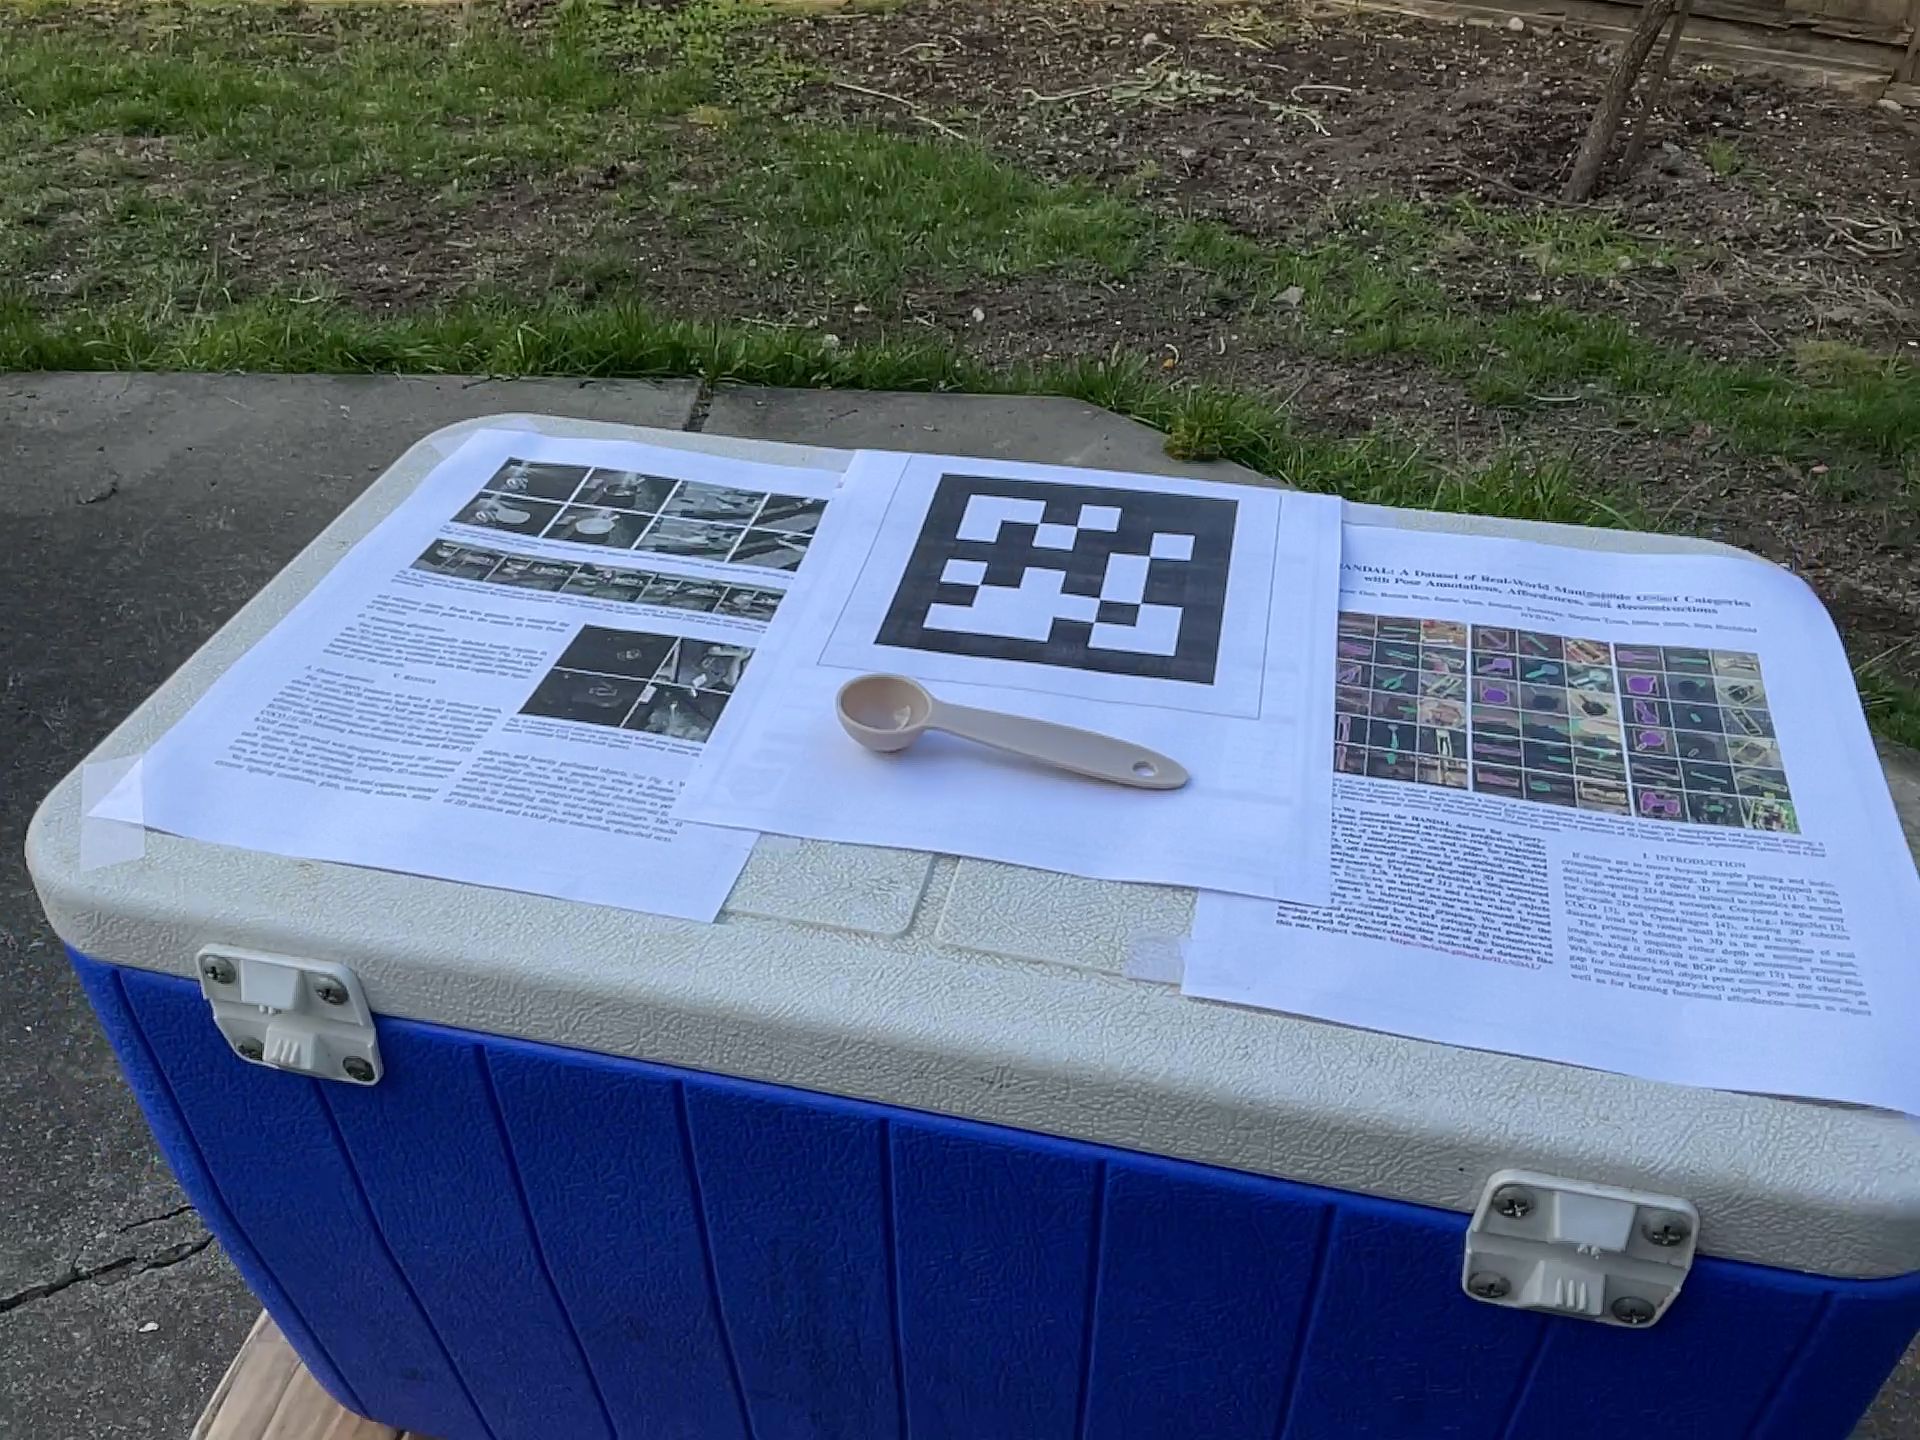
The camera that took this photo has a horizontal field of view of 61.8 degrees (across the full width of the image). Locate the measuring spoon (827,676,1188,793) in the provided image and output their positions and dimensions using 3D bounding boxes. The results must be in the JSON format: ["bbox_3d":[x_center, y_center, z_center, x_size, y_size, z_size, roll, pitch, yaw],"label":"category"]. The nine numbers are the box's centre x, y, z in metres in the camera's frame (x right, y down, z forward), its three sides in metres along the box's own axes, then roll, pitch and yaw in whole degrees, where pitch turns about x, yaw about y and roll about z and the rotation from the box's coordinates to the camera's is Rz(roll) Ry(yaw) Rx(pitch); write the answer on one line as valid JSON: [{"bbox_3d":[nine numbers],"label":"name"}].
[{"bbox_3d":[0.015,0.011,0.543,0.124,0.018,0.034,13,37,5],"label":"measuring spoon"}]
